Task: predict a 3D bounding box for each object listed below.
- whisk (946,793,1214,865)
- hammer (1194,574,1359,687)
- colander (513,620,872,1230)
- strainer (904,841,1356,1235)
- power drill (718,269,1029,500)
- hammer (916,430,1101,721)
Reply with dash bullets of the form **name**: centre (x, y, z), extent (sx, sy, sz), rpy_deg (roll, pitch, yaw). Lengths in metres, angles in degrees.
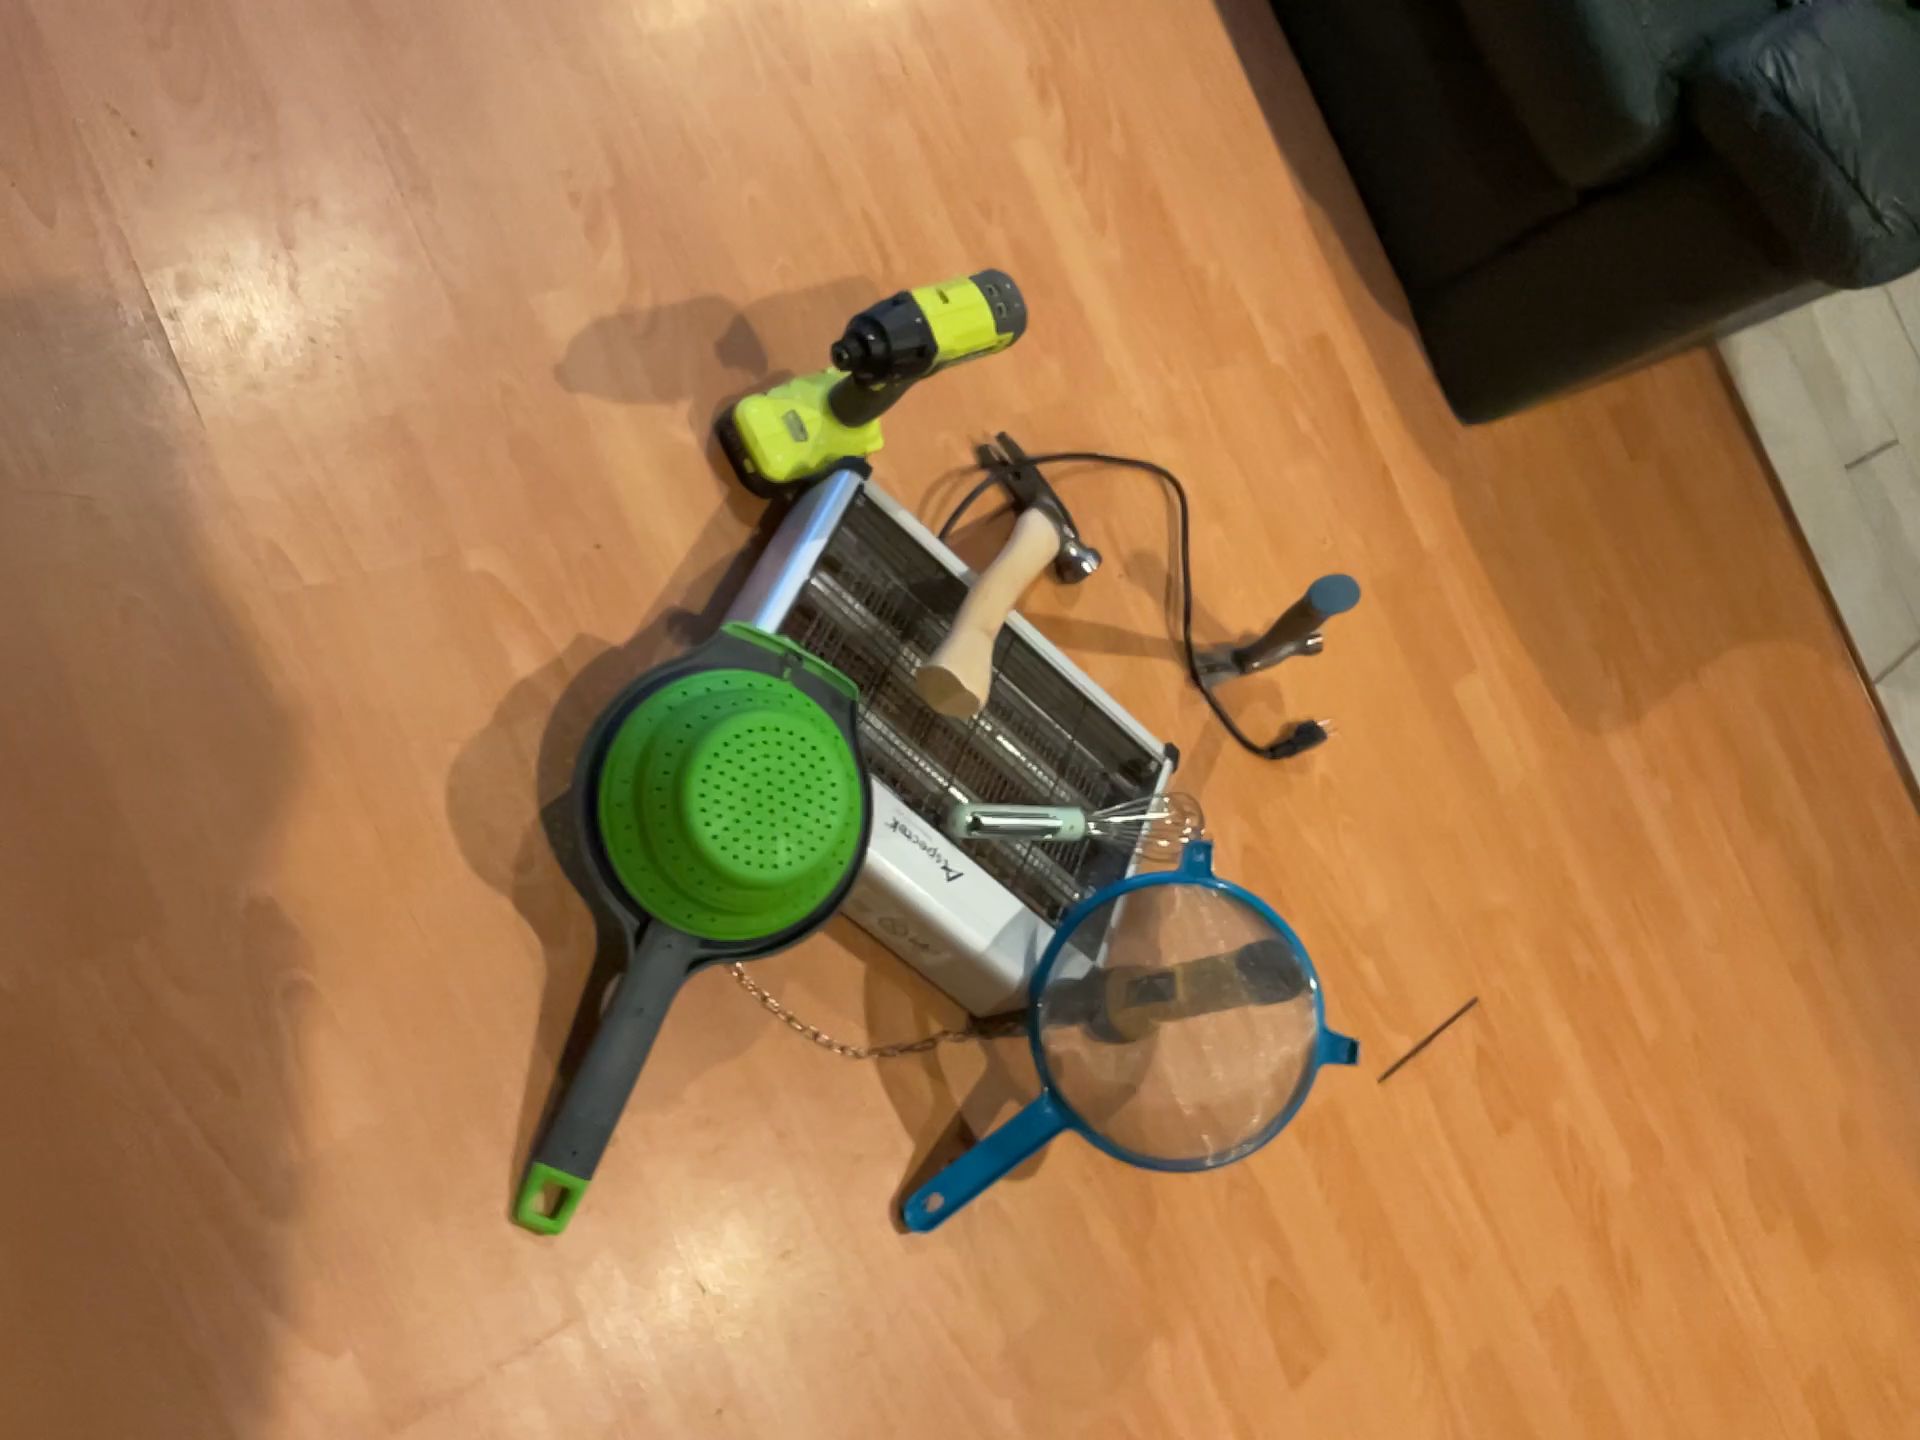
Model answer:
- **whisk**: centre (0.093, 0.079, 1.202), extent (0.246, 0.059, 0.057), rpy_deg (5, 100, -35)
- **hammer**: centre (0.280, -0.077, 1.368), extent (0.128, 0.331, 0.033), rpy_deg (-18, 84, -2)
- **colander**: centre (-0.166, 0.123, 0.986), extent (0.204, 0.094, 0.397), rpy_deg (29, 73, -20)
- **strainer**: centre (0.102, 0.248, 1.100), extent (0.340, 0.095, 0.211), rpy_deg (-36, 86, -6)
- **power drill**: centre (-0.075, -0.247, 1.179), extent (0.171, 0.223, 0.080), rpy_deg (-28, 92, -42)
- **hammer**: centre (0.026, -0.110, 1.231), extent (0.146, 0.038, 0.411), rpy_deg (53, 25, -12)
